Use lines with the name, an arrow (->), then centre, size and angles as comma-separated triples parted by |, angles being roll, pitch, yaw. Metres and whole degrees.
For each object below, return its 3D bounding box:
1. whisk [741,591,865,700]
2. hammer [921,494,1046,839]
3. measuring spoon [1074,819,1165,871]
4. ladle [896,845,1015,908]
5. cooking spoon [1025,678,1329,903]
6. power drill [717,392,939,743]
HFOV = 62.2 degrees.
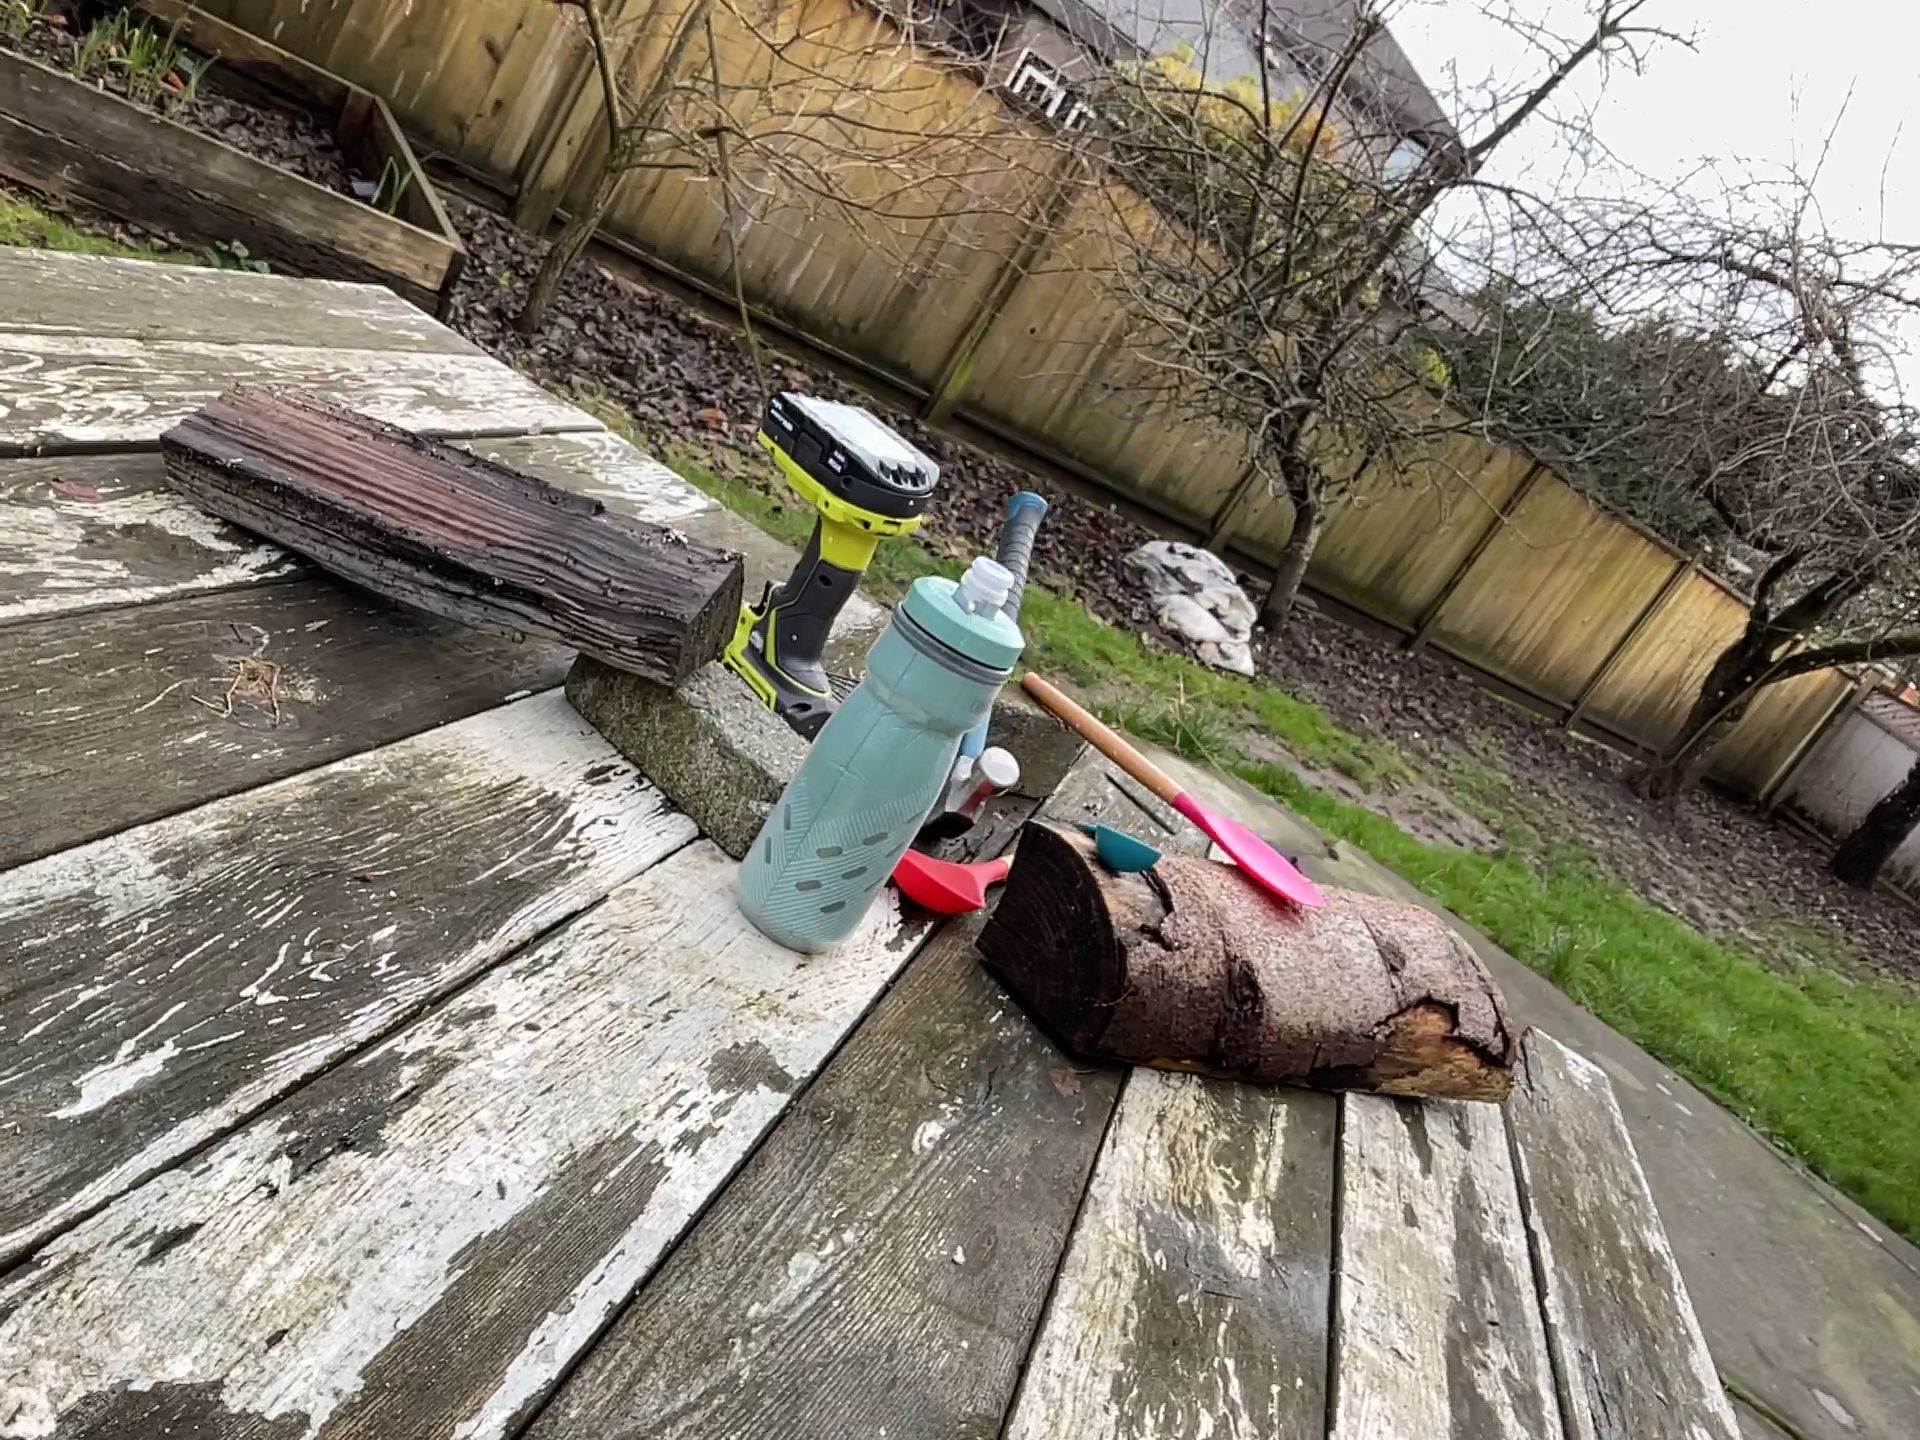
whisk -> -0.113, -0.041, 1.212 | 0.239, 0.055, 0.055 | 40, 11, 38
hammer -> 0.023, -0.051, 1.187 | 0.033, 0.128, 0.331 | 28, 48, -17
measuring spoon -> 0.092, 0.079, 1.005 | 0.042, 0.021, 0.129 | 27, -5, -11
ladle -> 0.039, 0.101, 1.120 | 0.069, 0.031, 0.315 | 36, 15, 23
cooking spoon -> 0.149, 0.048, 1.183 | 0.068, 0.017, 0.319 | 12, 21, -45
power drill -> -0.115, -0.102, 1.099 | 0.080, 0.223, 0.171 | 3, 30, -44
